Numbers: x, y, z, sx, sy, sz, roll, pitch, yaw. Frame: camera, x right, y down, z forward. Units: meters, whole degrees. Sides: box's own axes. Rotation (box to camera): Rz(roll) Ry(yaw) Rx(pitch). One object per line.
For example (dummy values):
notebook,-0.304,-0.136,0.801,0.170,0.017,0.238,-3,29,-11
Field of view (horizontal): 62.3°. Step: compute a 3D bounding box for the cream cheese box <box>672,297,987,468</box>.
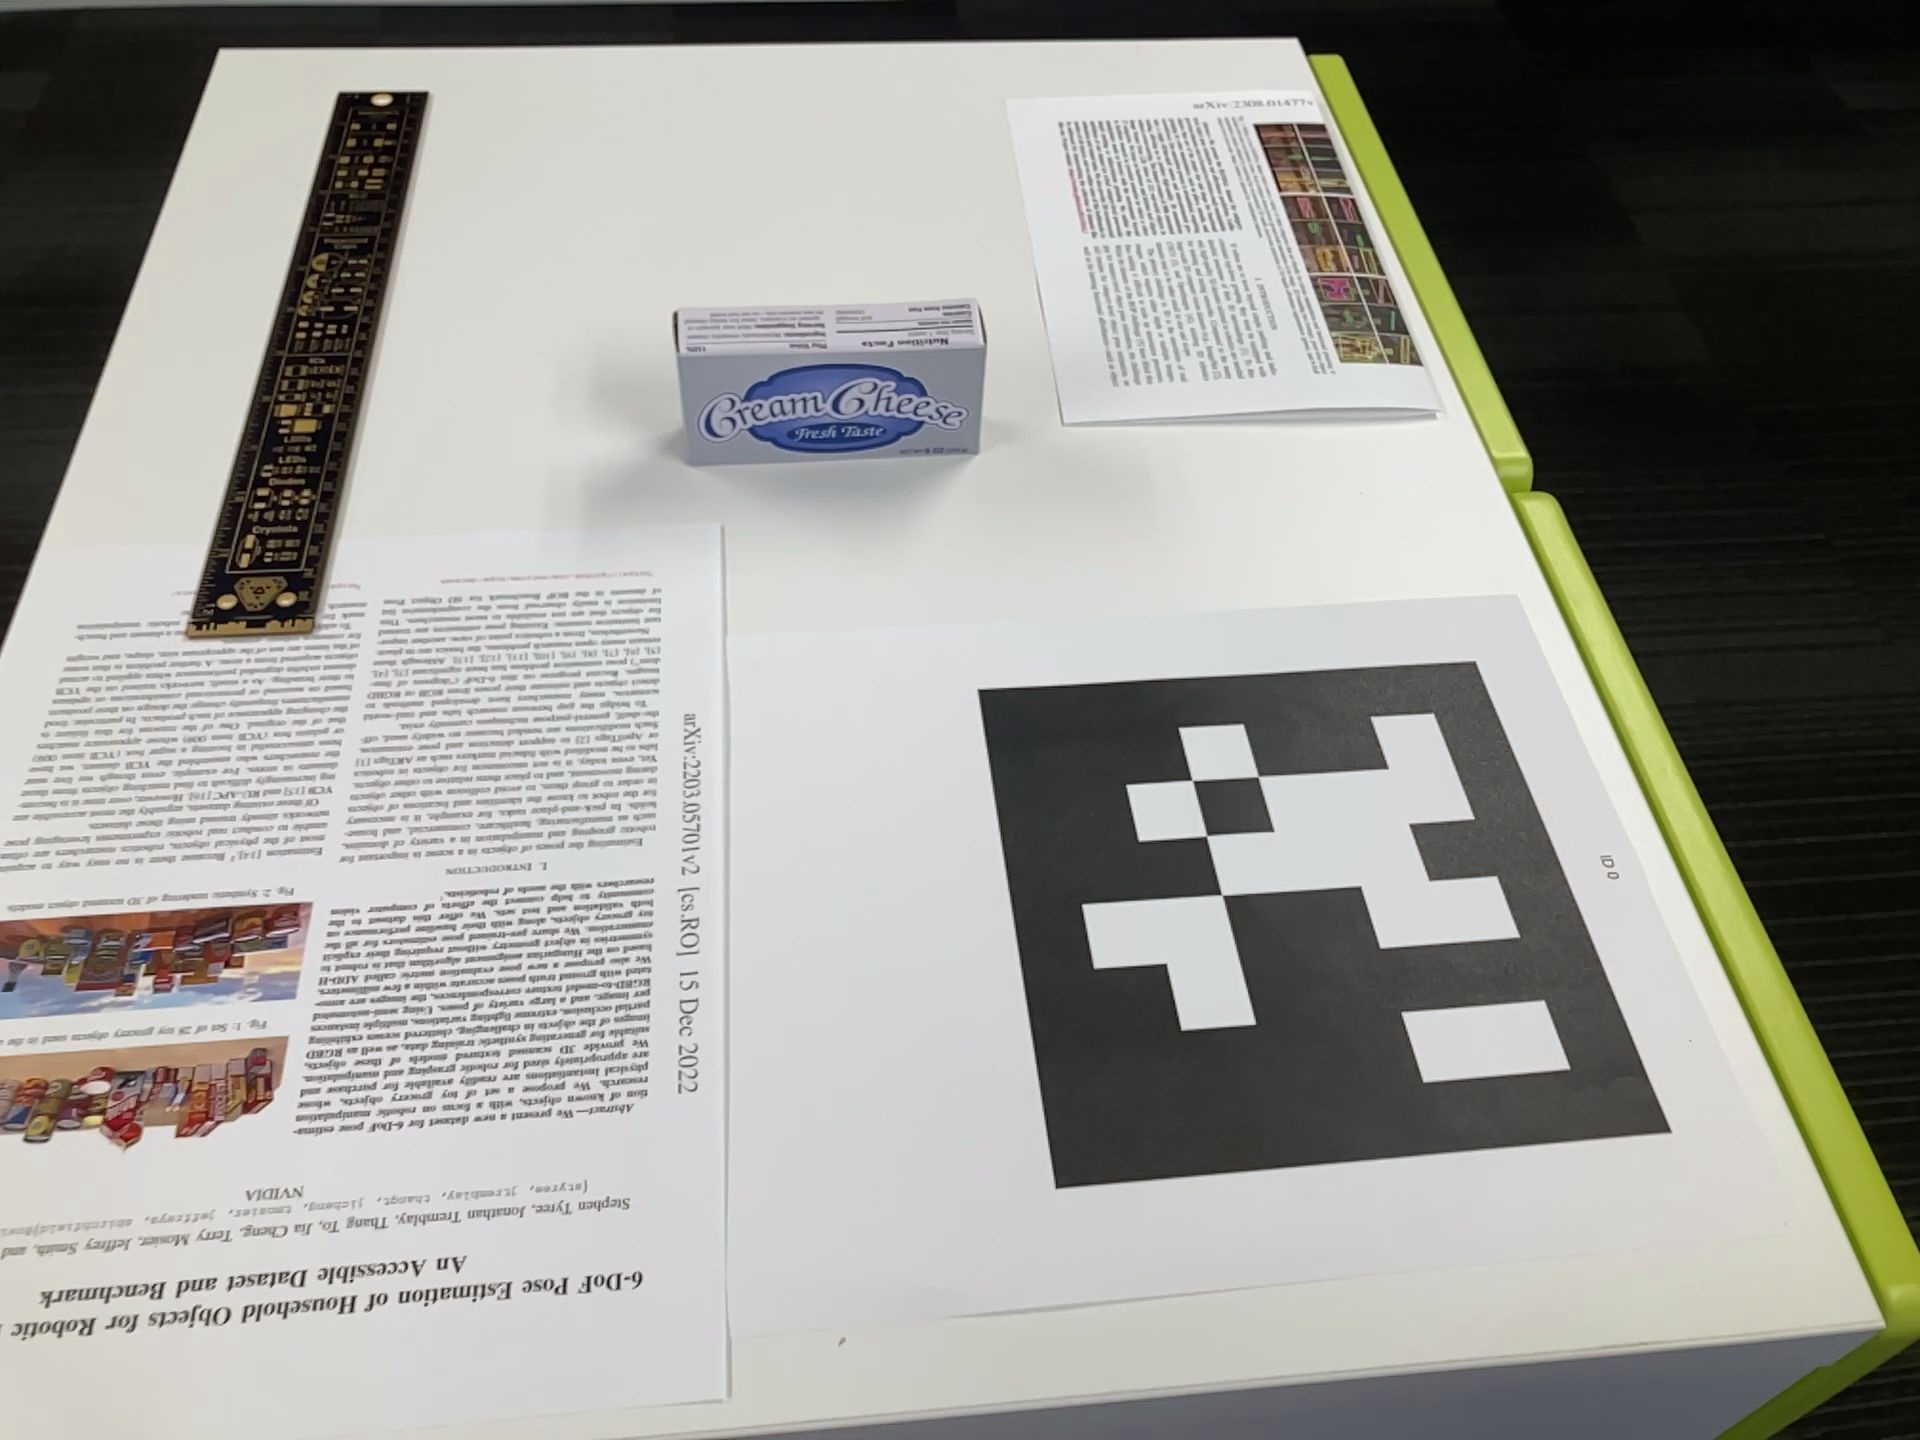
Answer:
cream cheese box,-0.044,-0.115,0.544,0.104,0.053,0.024,-4,54,-6
